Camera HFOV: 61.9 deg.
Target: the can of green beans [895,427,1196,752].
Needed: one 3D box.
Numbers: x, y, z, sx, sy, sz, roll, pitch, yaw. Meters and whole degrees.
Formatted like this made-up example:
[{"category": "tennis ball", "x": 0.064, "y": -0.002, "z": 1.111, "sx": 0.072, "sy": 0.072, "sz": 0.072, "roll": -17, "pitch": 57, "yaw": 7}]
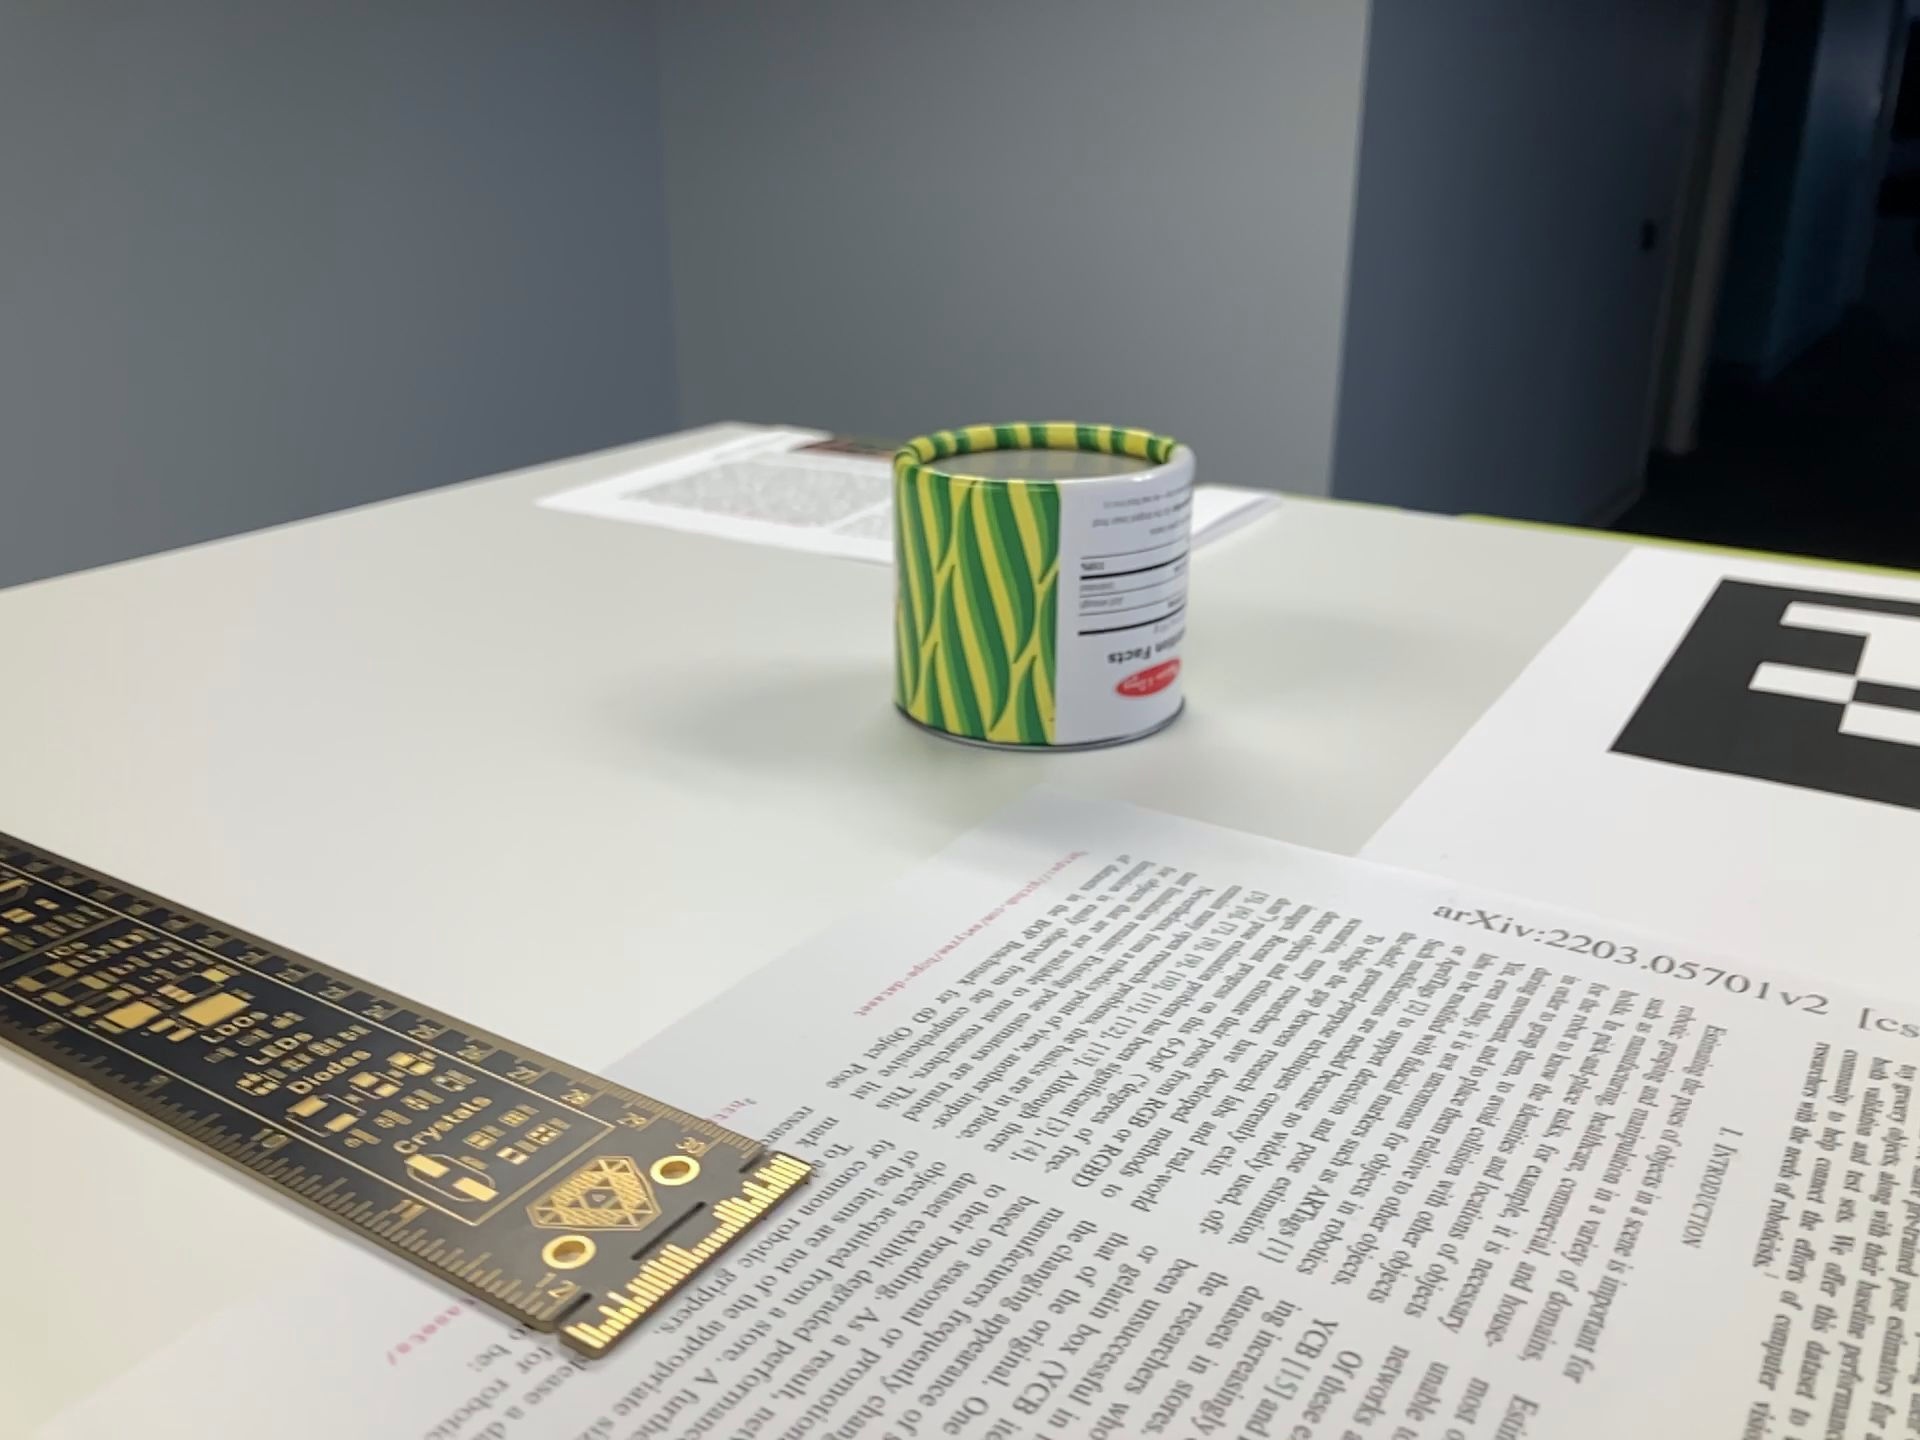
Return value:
[{"category": "can of green beans", "x": 0.018, "y": -0.032, "z": 0.360, "sx": 0.071, "sy": 0.058, "sz": 0.071, "roll": 0, "pitch": 21, "yaw": 0}]
